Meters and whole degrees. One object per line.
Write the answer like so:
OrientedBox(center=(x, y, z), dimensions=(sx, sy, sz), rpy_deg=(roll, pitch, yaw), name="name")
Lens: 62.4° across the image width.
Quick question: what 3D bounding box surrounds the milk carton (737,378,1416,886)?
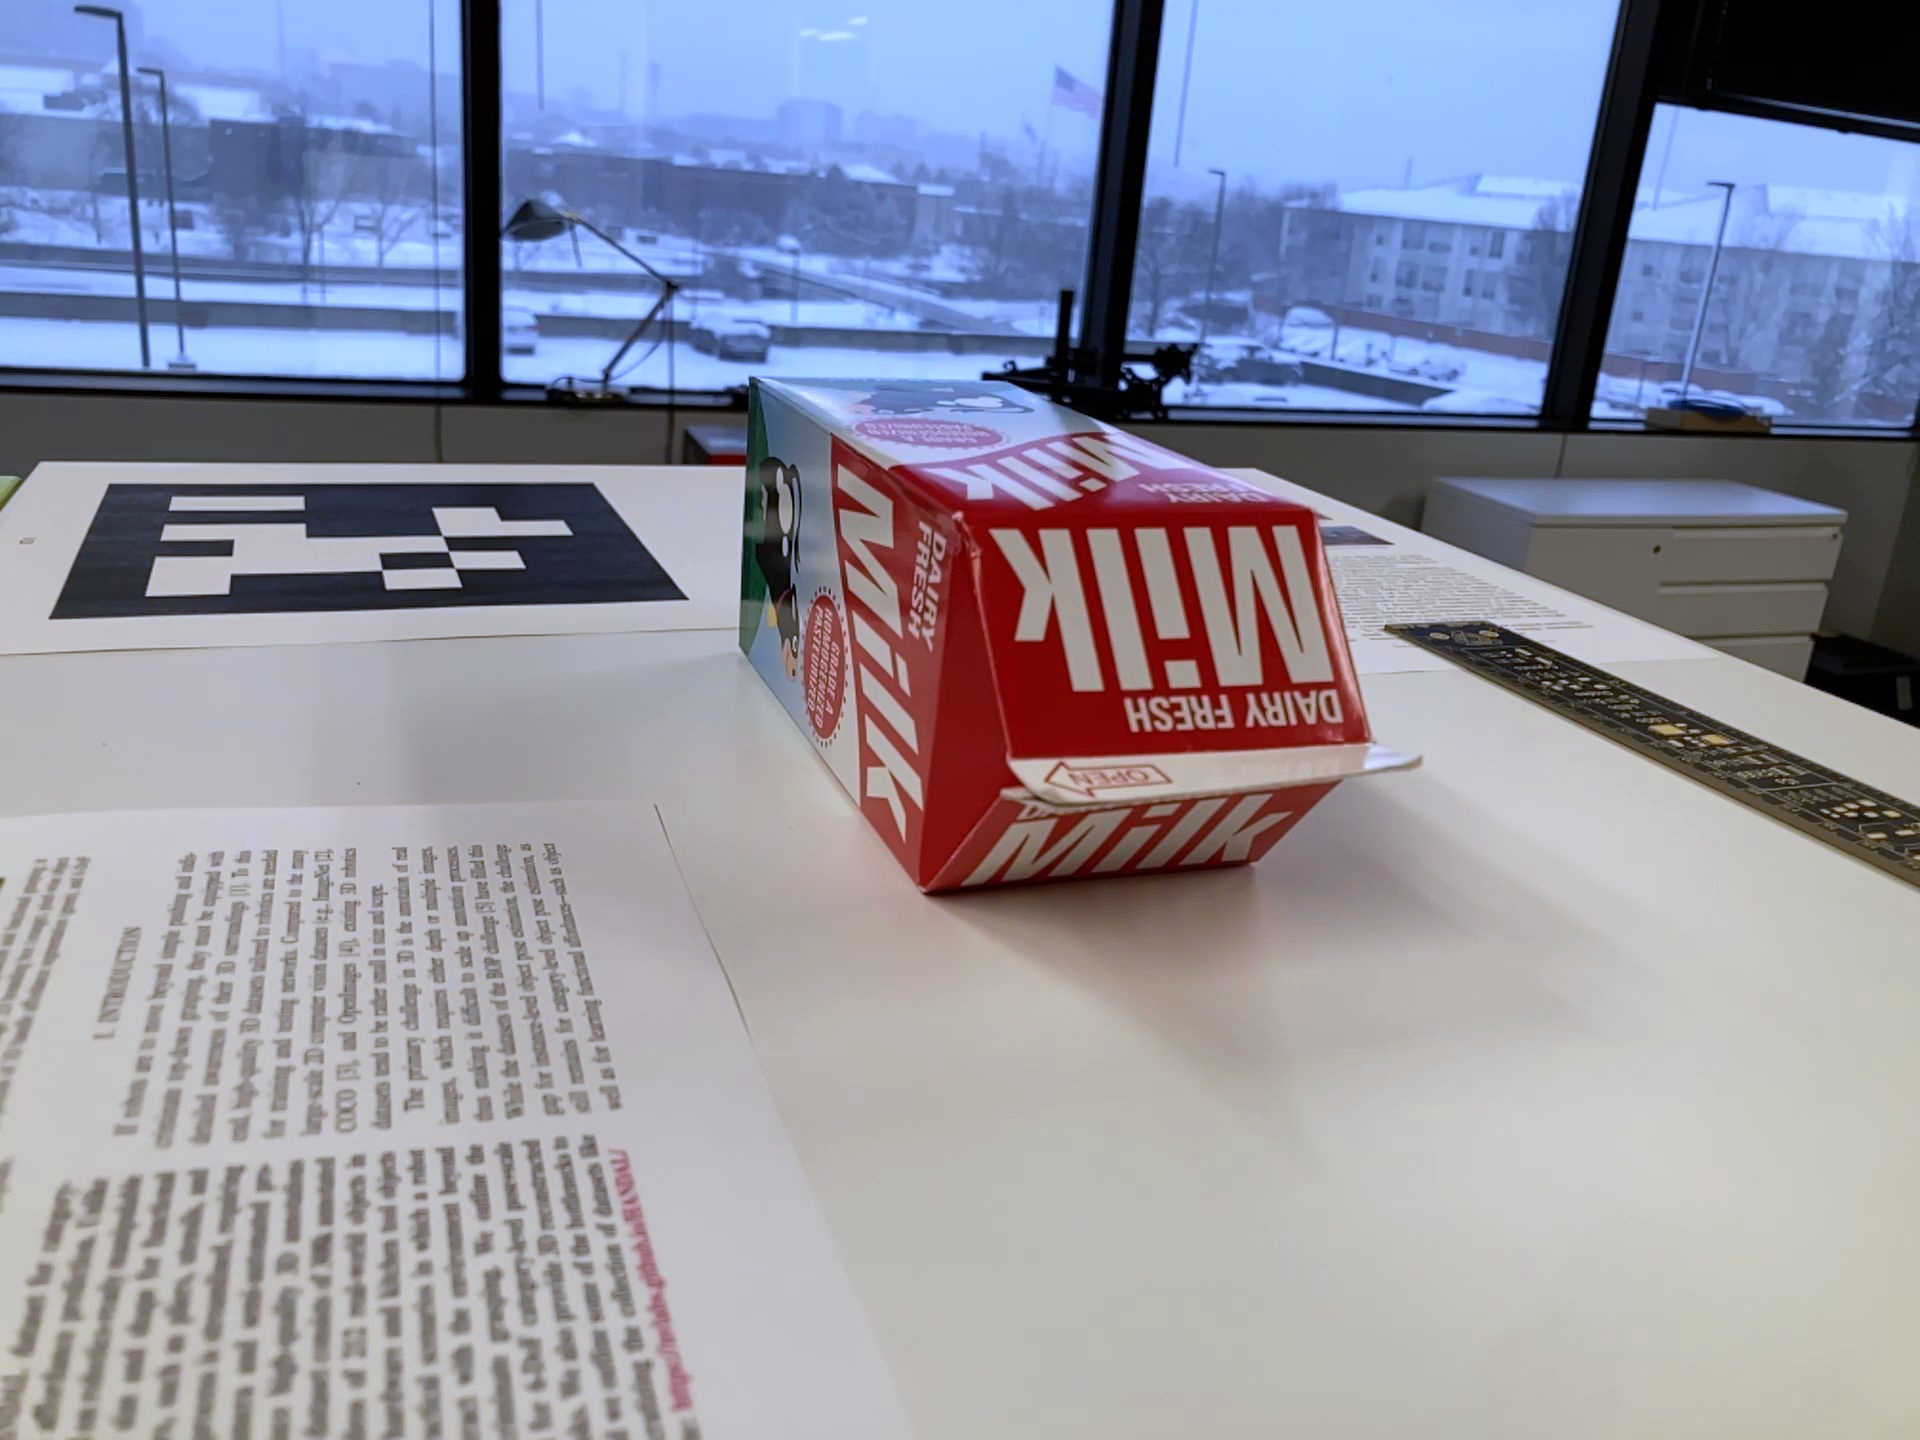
OrientedBox(center=(0.010, -0.021, 0.331), dimensions=(0.072, 0.073, 0.190), rpy_deg=(-2, 20, -22), name="milk carton")
